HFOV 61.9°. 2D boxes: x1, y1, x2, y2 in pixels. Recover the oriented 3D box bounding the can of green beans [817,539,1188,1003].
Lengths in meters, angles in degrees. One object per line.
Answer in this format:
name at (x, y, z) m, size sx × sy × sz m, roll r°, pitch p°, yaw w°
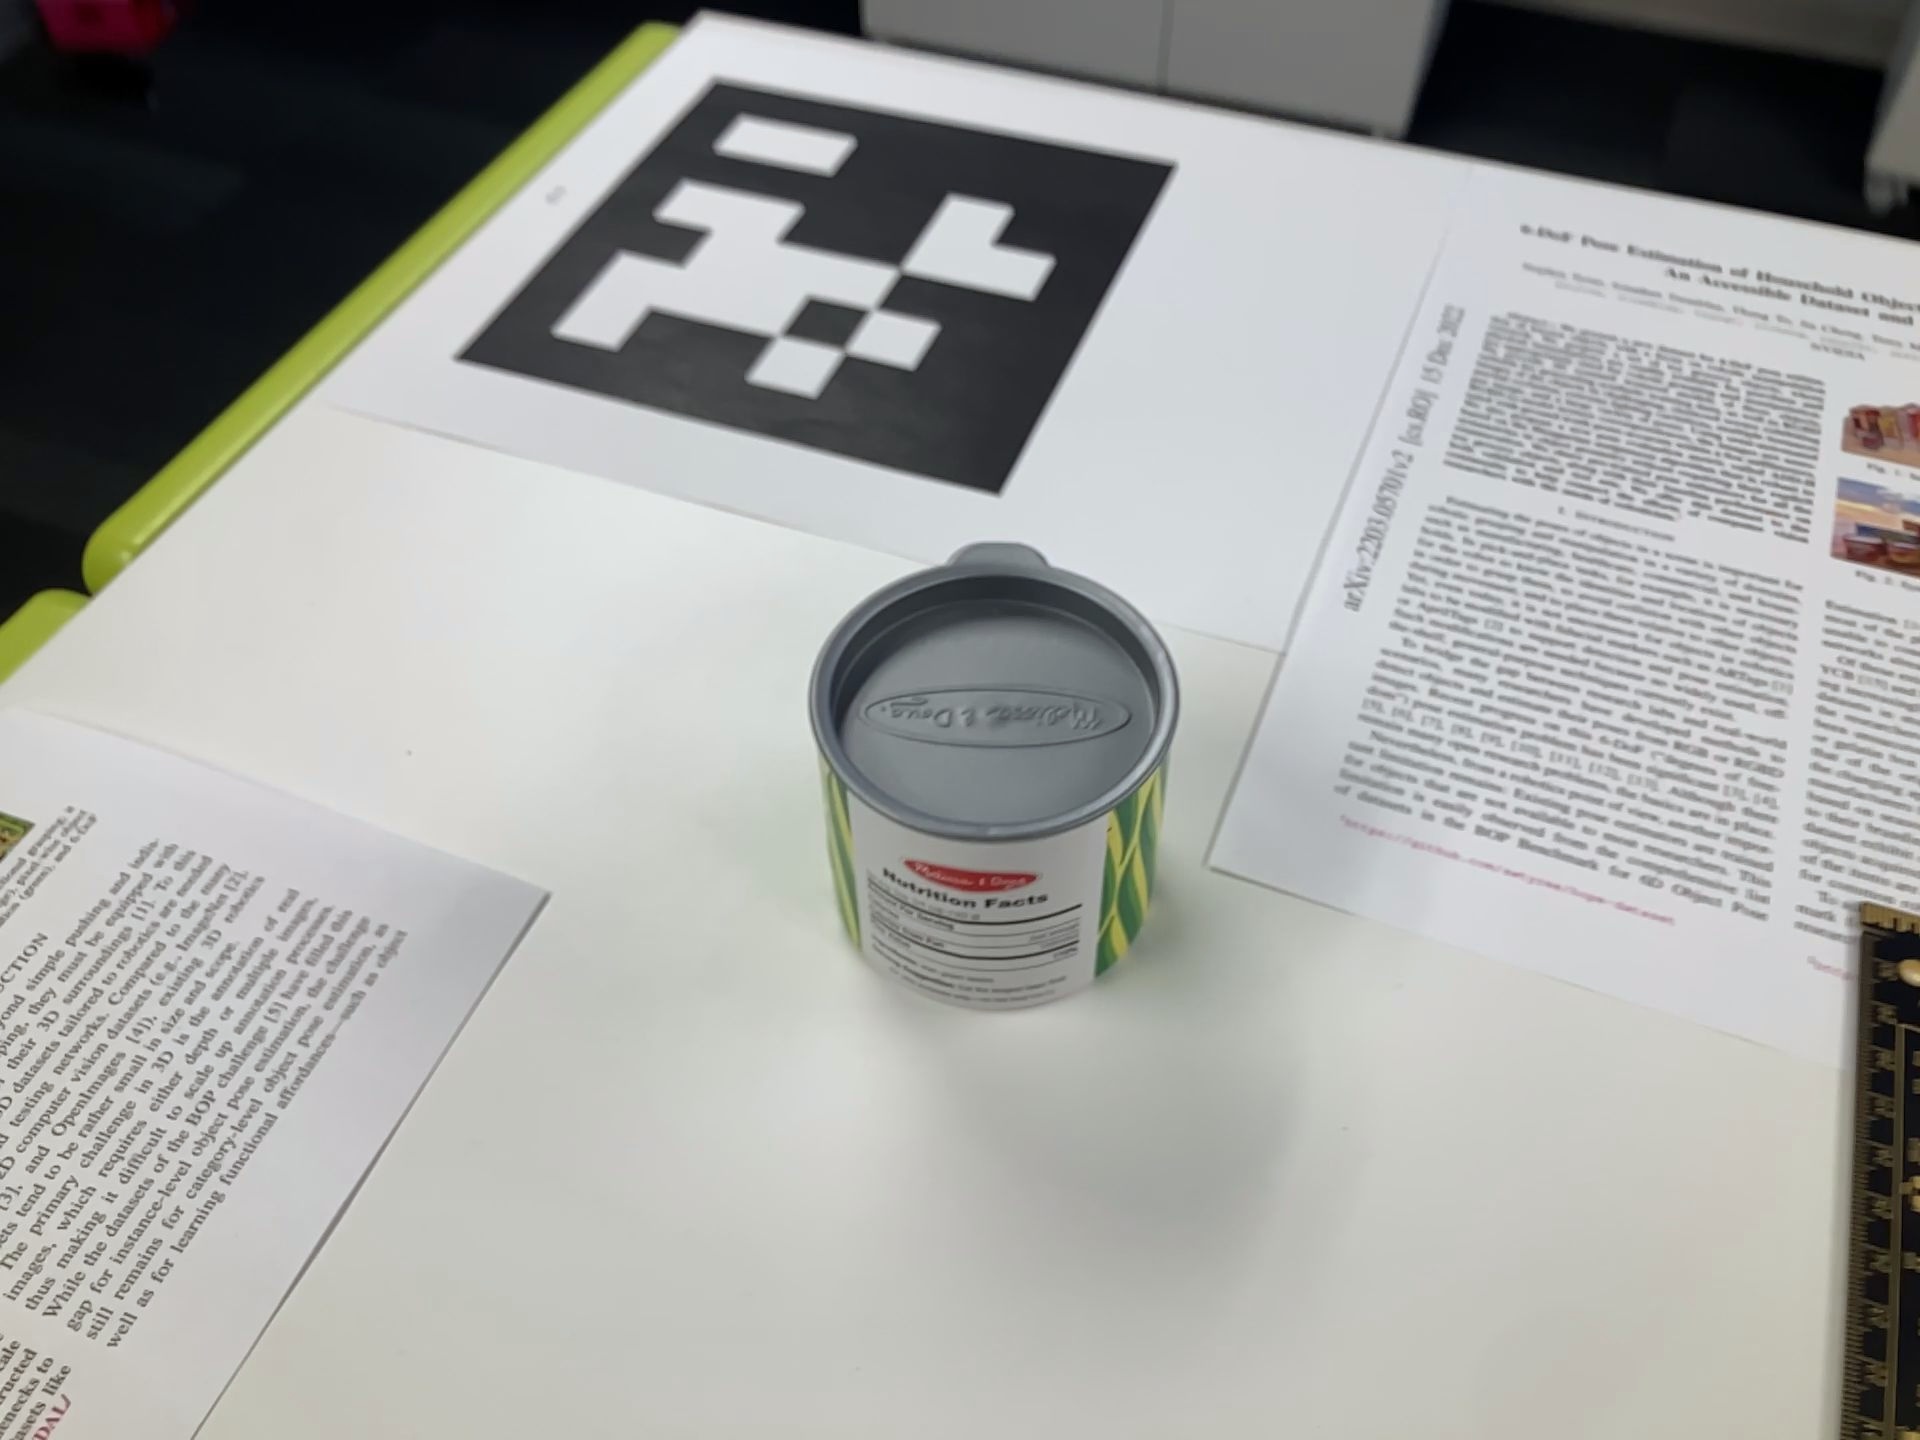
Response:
can of green beans at (0.008, 0.012, 0.308) m, size 0.071 × 0.058 × 0.071 m, roll 0°, pitch 50°, yaw 0°
